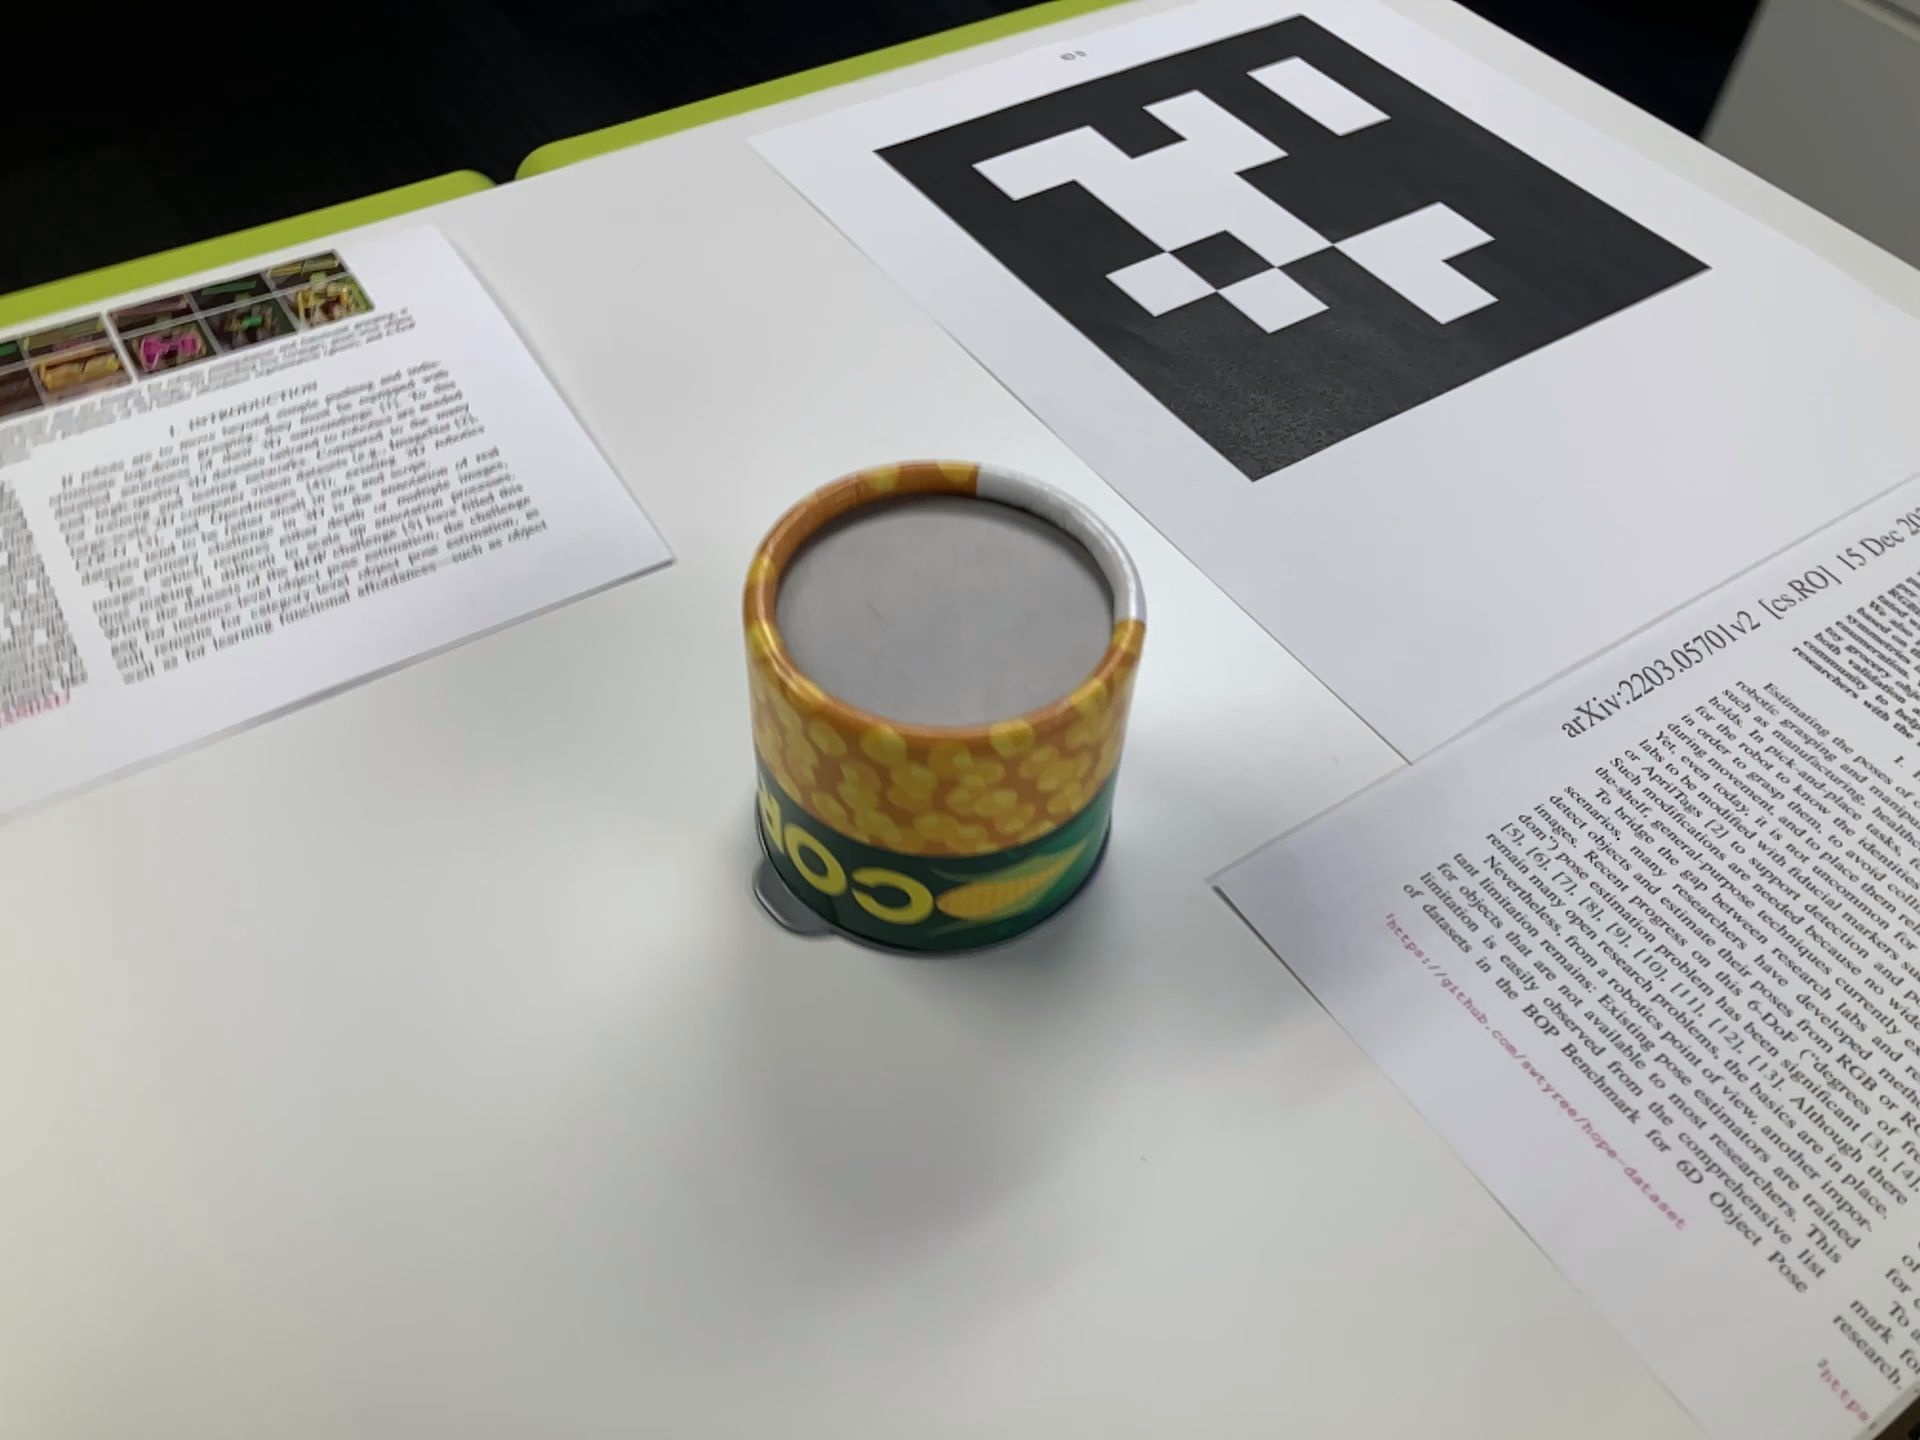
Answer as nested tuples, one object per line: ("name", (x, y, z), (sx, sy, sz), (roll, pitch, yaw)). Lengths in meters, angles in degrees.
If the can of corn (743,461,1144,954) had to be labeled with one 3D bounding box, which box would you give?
("can of corn", (-0.006, -0.001, 0.276), (0.071, 0.058, 0.071), (1, 50, -2))
